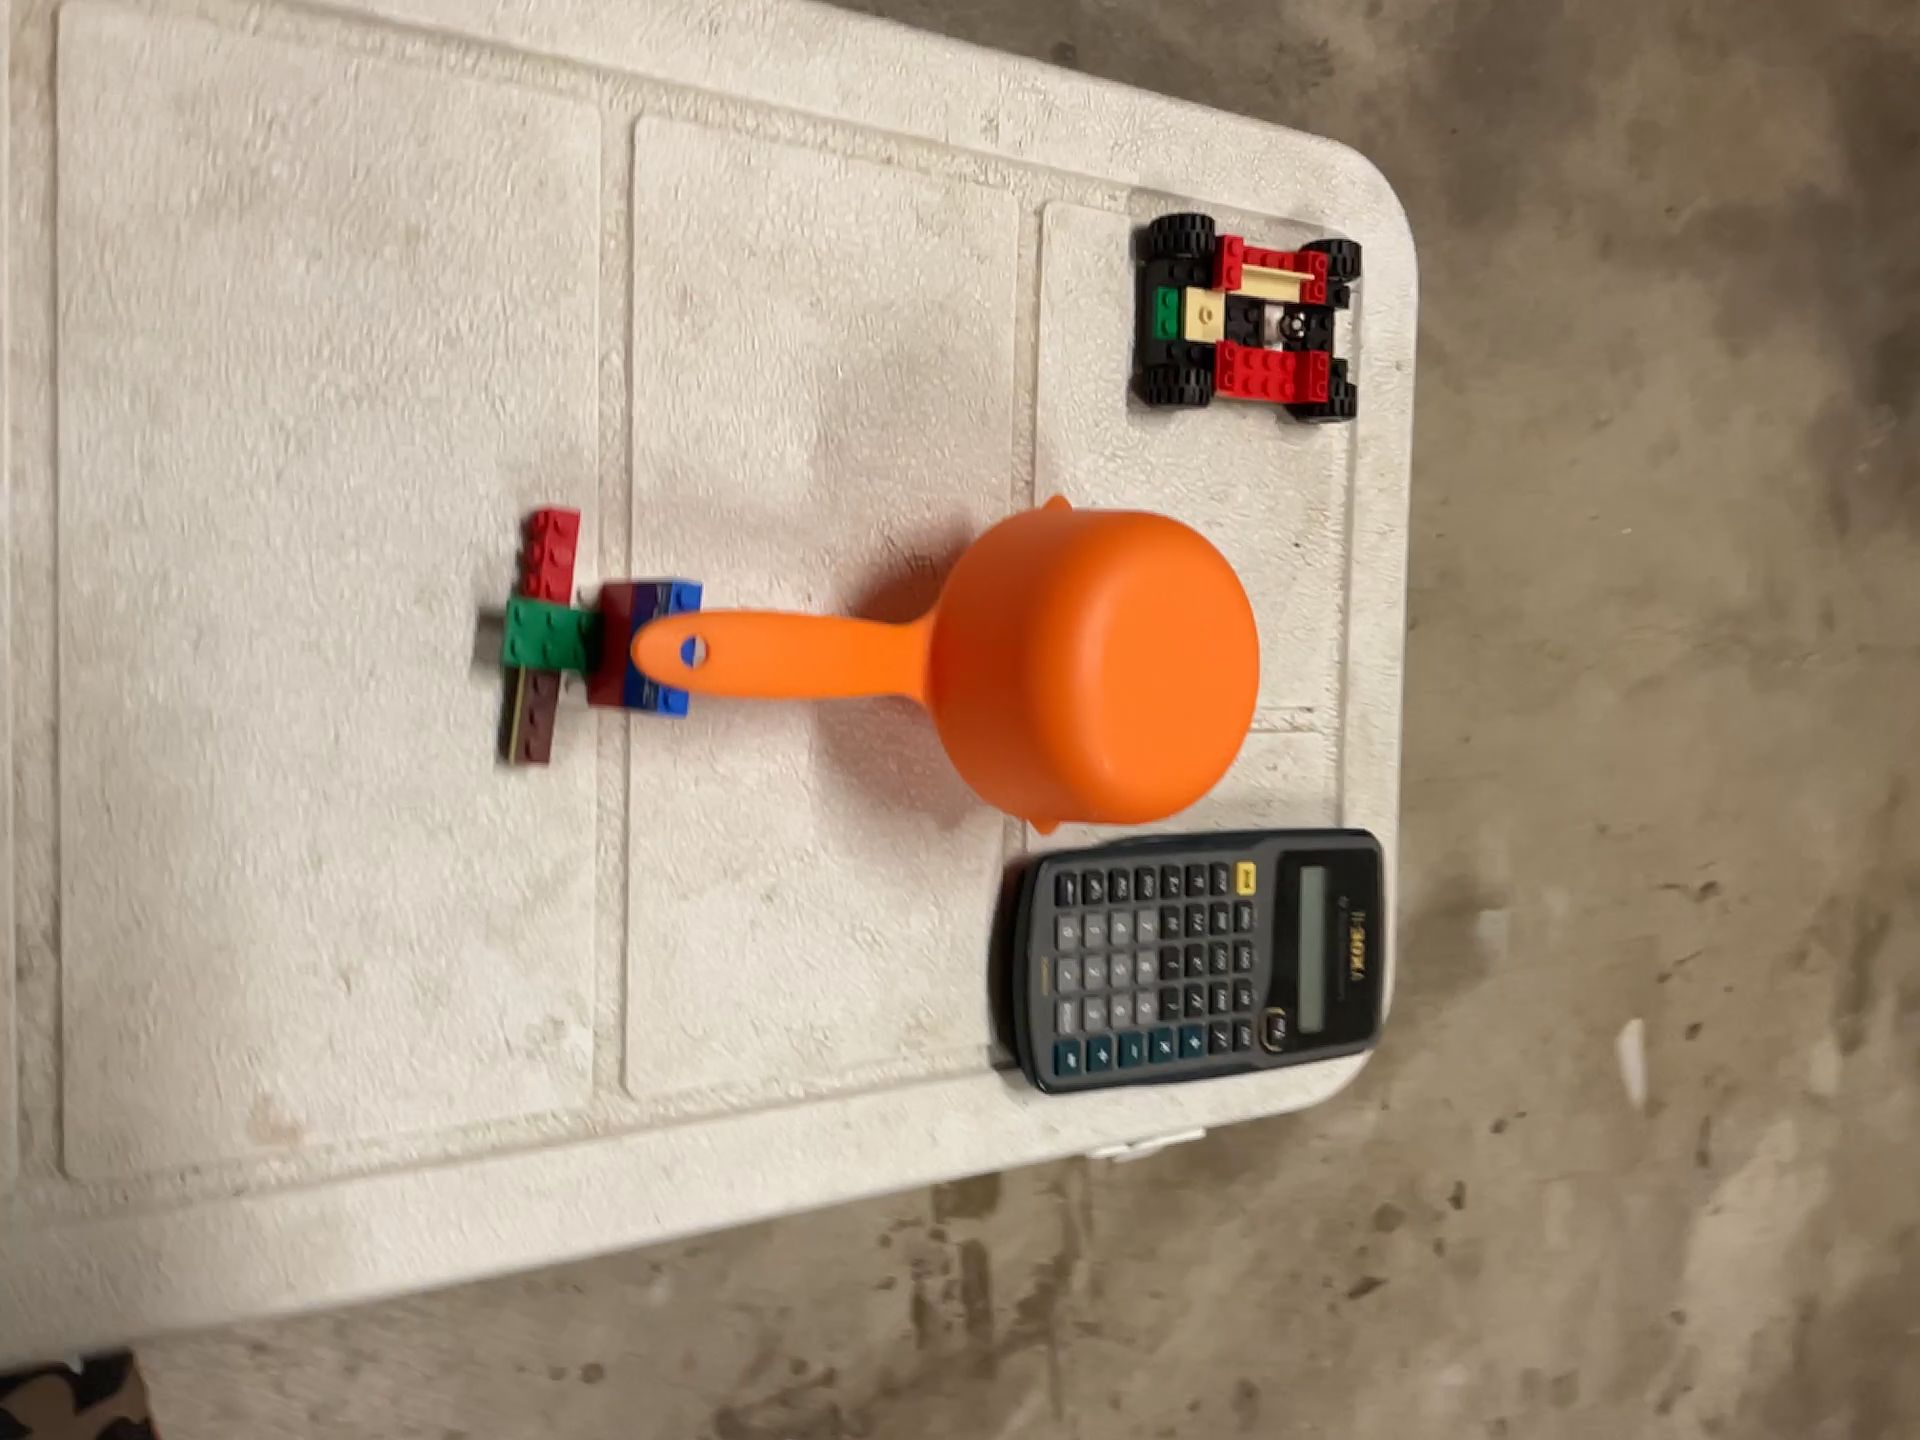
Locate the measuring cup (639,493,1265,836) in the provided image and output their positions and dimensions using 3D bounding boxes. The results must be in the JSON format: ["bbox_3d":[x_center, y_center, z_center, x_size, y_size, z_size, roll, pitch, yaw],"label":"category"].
[{"bbox_3d":[0.008,-0.015,0.400,0.173,0.052,0.095,1,92,-40],"label":"measuring cup"}]
